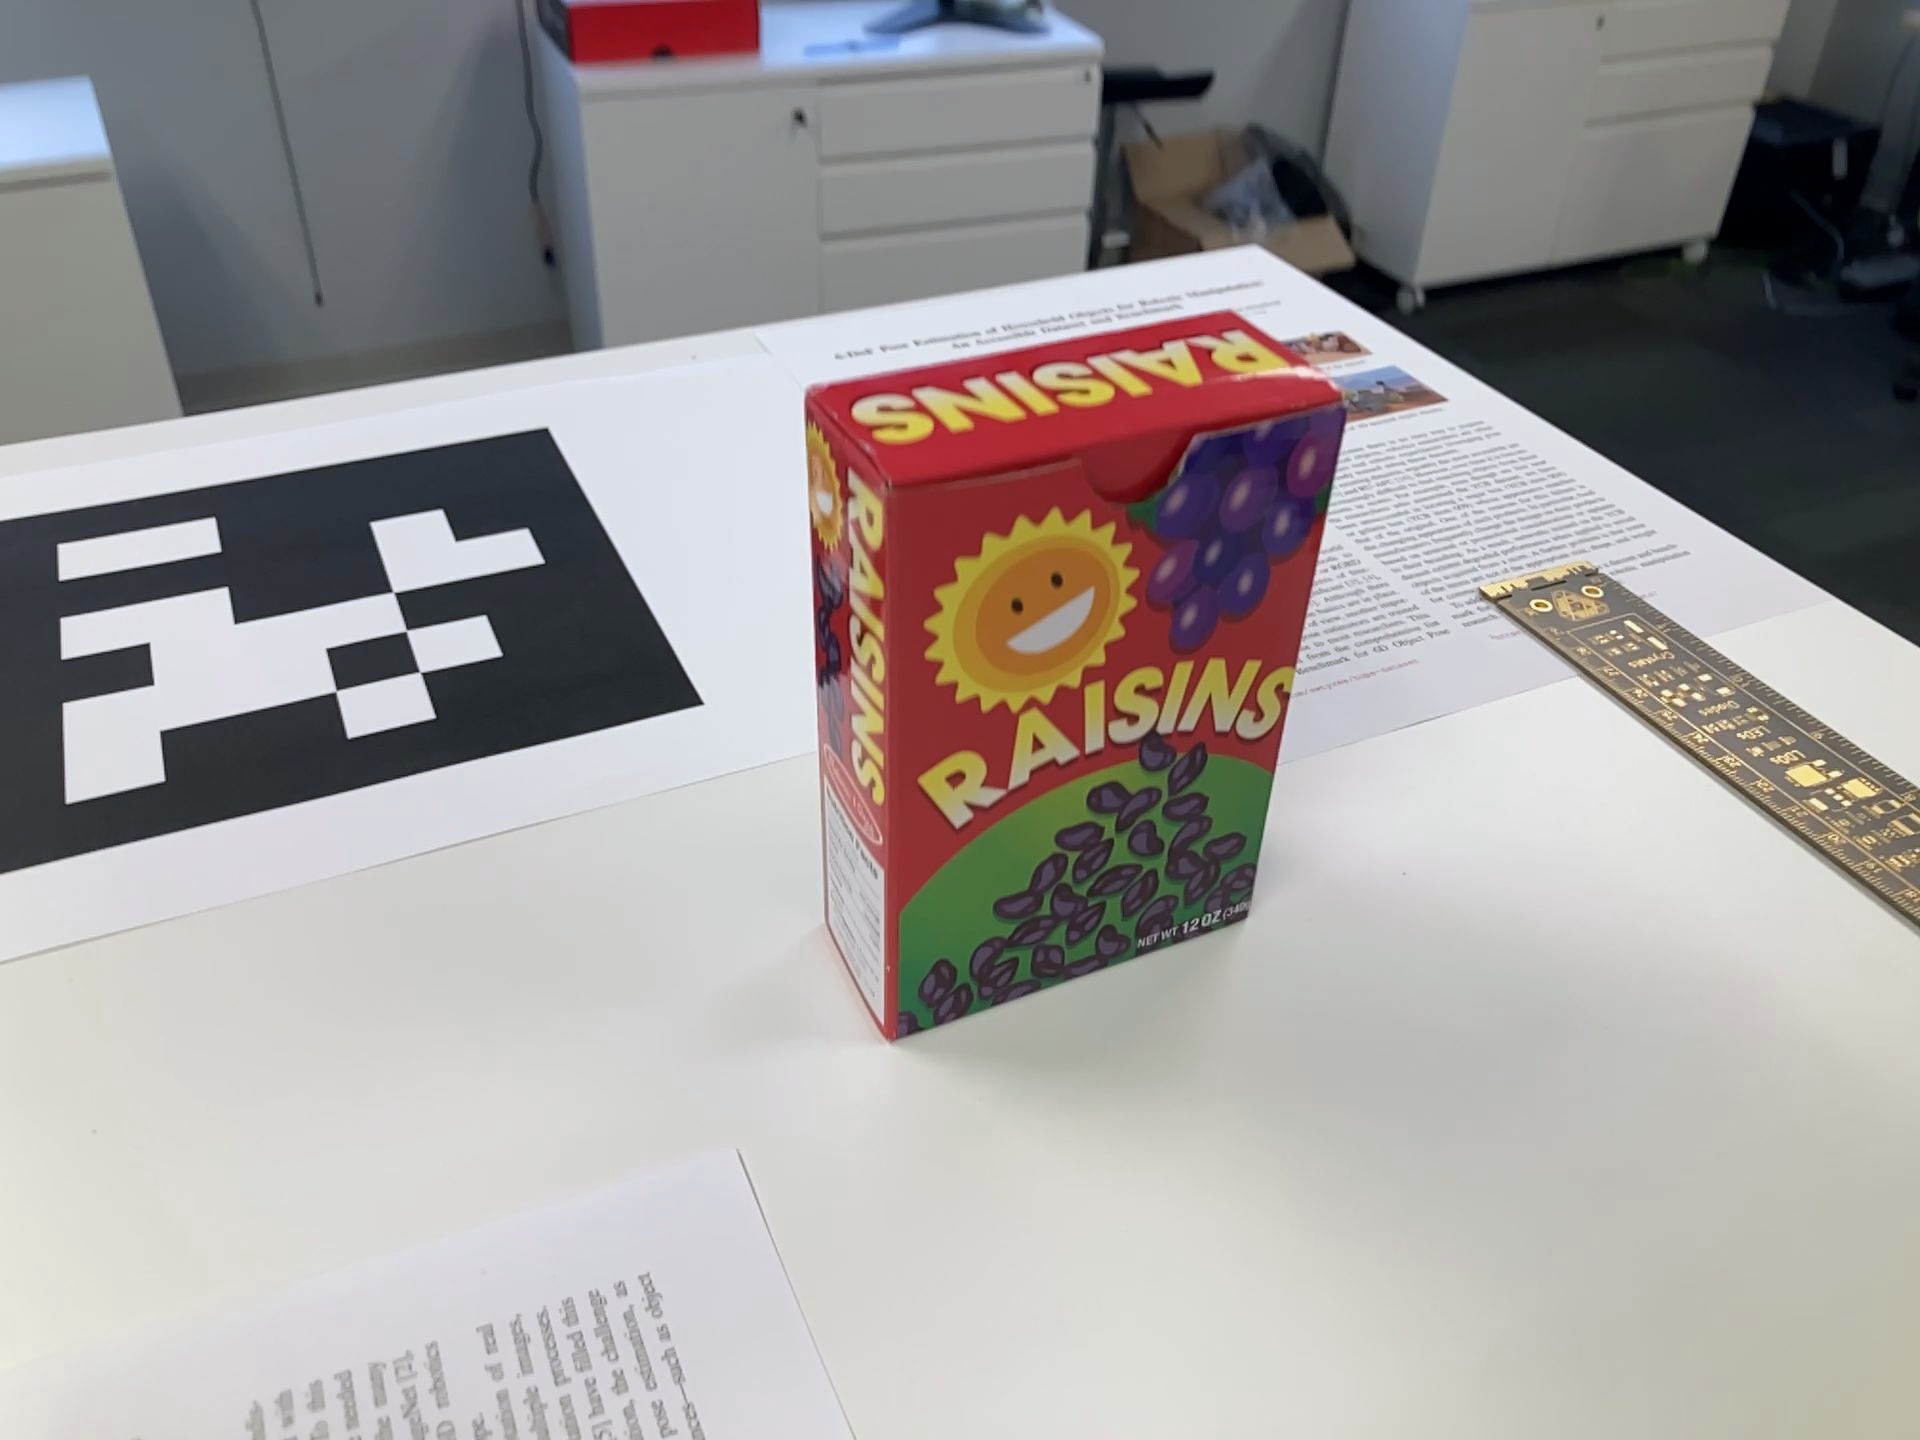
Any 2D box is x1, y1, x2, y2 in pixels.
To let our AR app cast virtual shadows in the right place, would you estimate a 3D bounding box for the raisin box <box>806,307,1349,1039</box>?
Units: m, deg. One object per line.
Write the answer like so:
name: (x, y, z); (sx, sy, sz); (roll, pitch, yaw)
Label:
raisin box: (0.018, -0.007, 0.296); (0.086, 0.123, 0.040); (-14, 40, -21)
